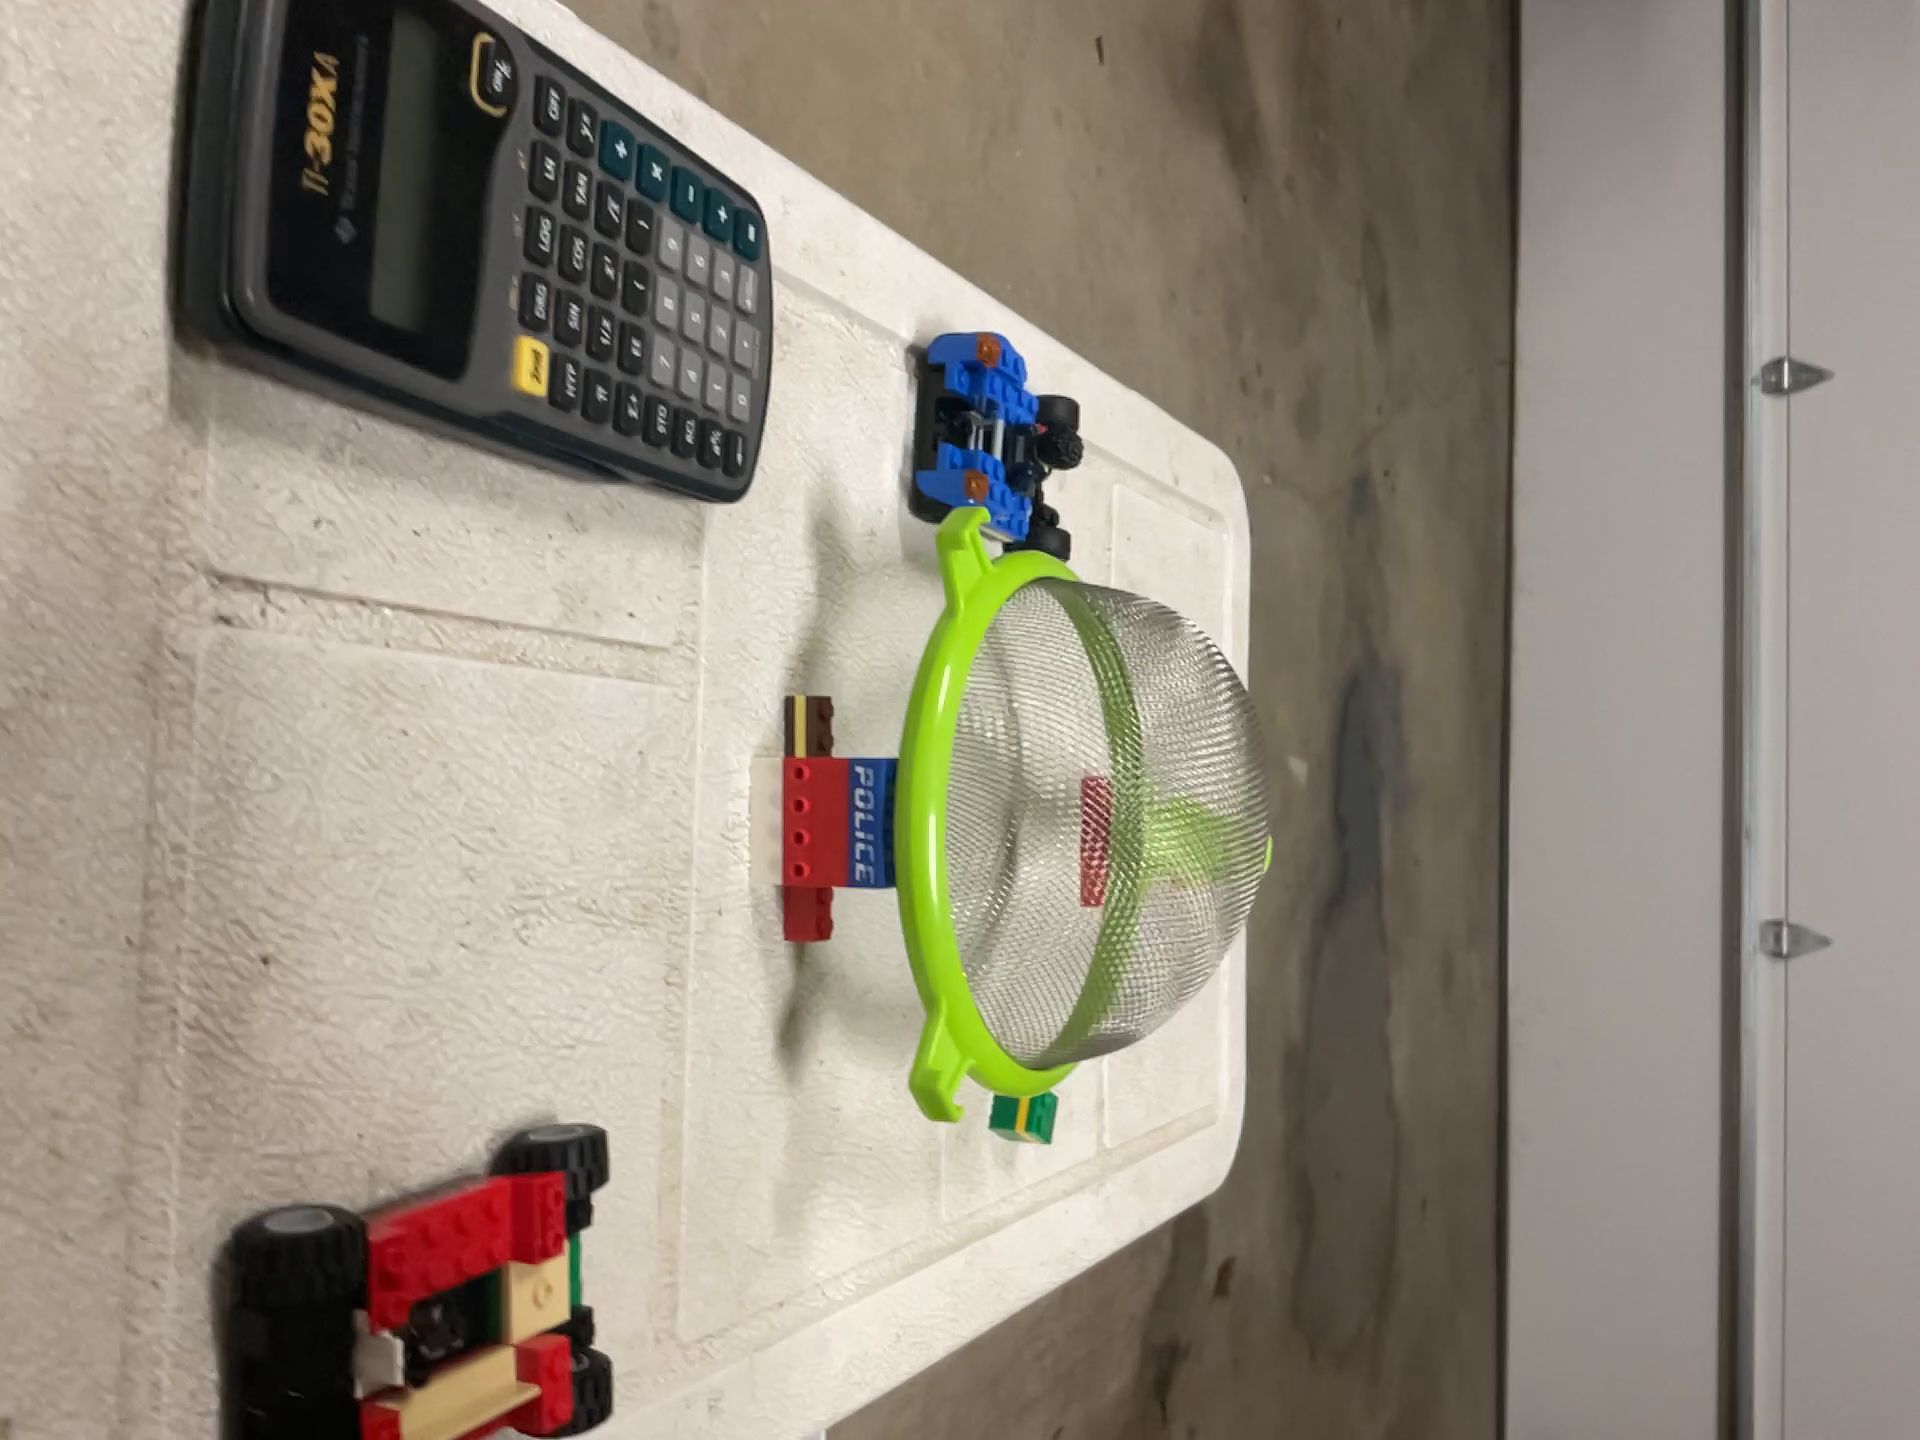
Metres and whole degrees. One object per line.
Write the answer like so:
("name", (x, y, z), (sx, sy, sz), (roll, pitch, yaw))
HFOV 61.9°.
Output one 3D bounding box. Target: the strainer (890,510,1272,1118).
("strainer", (0.070, 0.033, 0.483), (0.256, 0.069, 0.151), (14, 76, -60))
